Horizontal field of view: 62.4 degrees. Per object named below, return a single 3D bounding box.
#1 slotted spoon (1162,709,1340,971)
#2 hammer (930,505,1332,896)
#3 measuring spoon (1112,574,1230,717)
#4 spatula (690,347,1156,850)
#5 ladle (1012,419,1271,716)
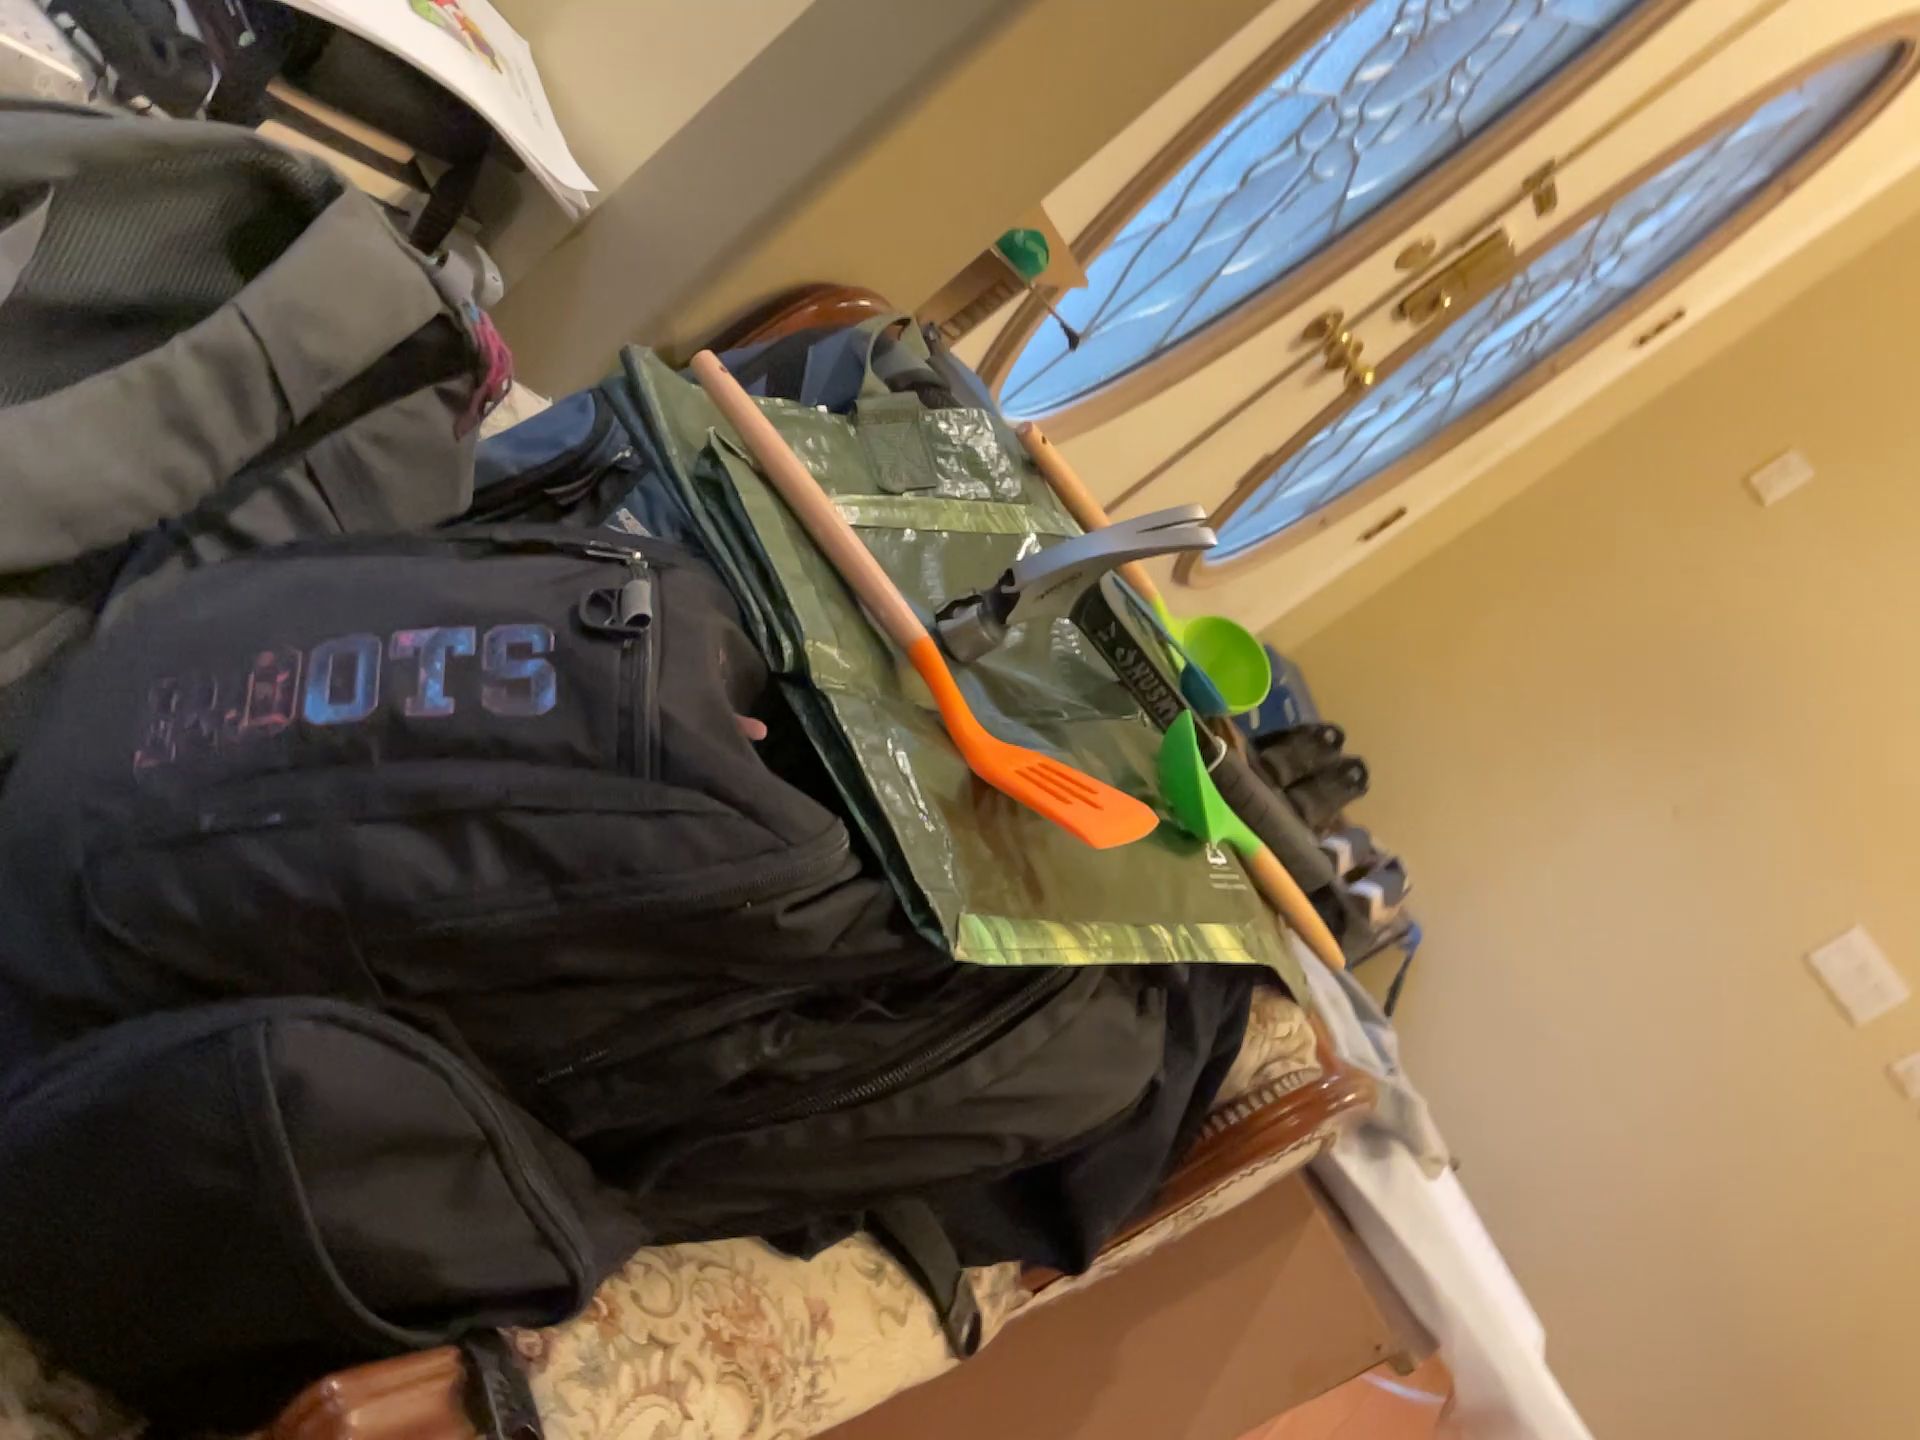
[{"bbox_3d":[0.176,0.087,0.927,0.313,0.031,0.070,47,30,-50],"label":"slotted spoon"},{"bbox_3d":[0.145,0.013,0.946,0.408,0.149,0.036,44,26,-48],"label":"hammer"},{"bbox_3d":[0.131,-0.045,1.026,0.128,0.021,0.042,46,16,-26],"label":"measuring spoon"},{"bbox_3d":[-0.029,-0.060,0.746,0.323,0.041,0.081,53,24,13],"label":"spatula"},{"bbox_3d":[0.124,-0.099,1.047,0.319,0.062,0.078,45,43,-47],"label":"ladle"}]
